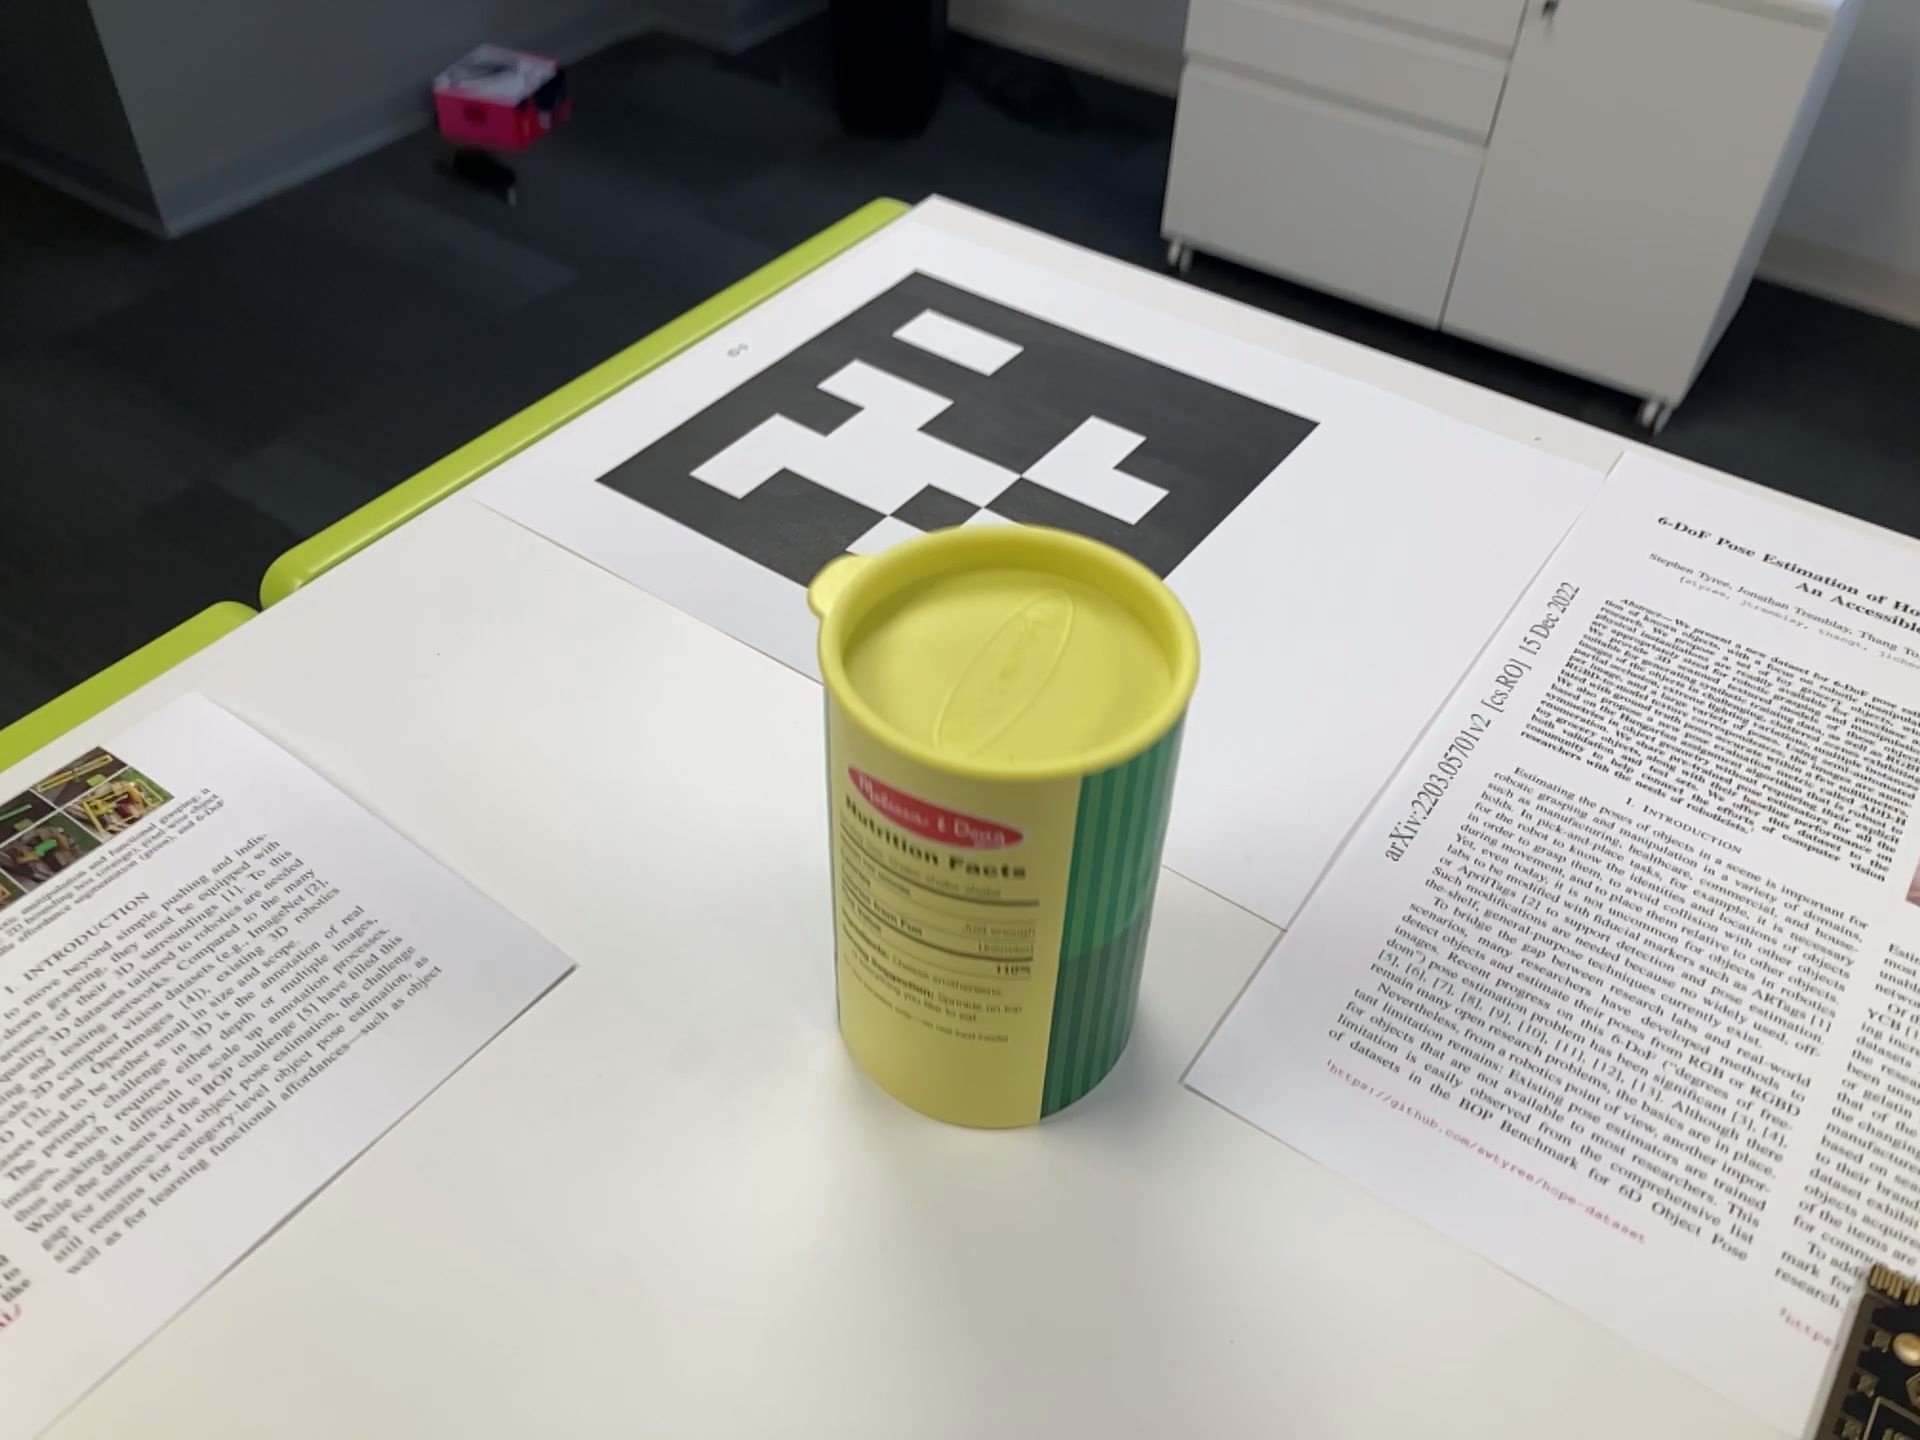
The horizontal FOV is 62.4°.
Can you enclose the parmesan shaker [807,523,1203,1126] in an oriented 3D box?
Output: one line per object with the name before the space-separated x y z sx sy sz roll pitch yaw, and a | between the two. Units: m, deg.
parmesan shaker | 0.005 0.021 0.309 0.071 0.103 0.071 1 44 -1
